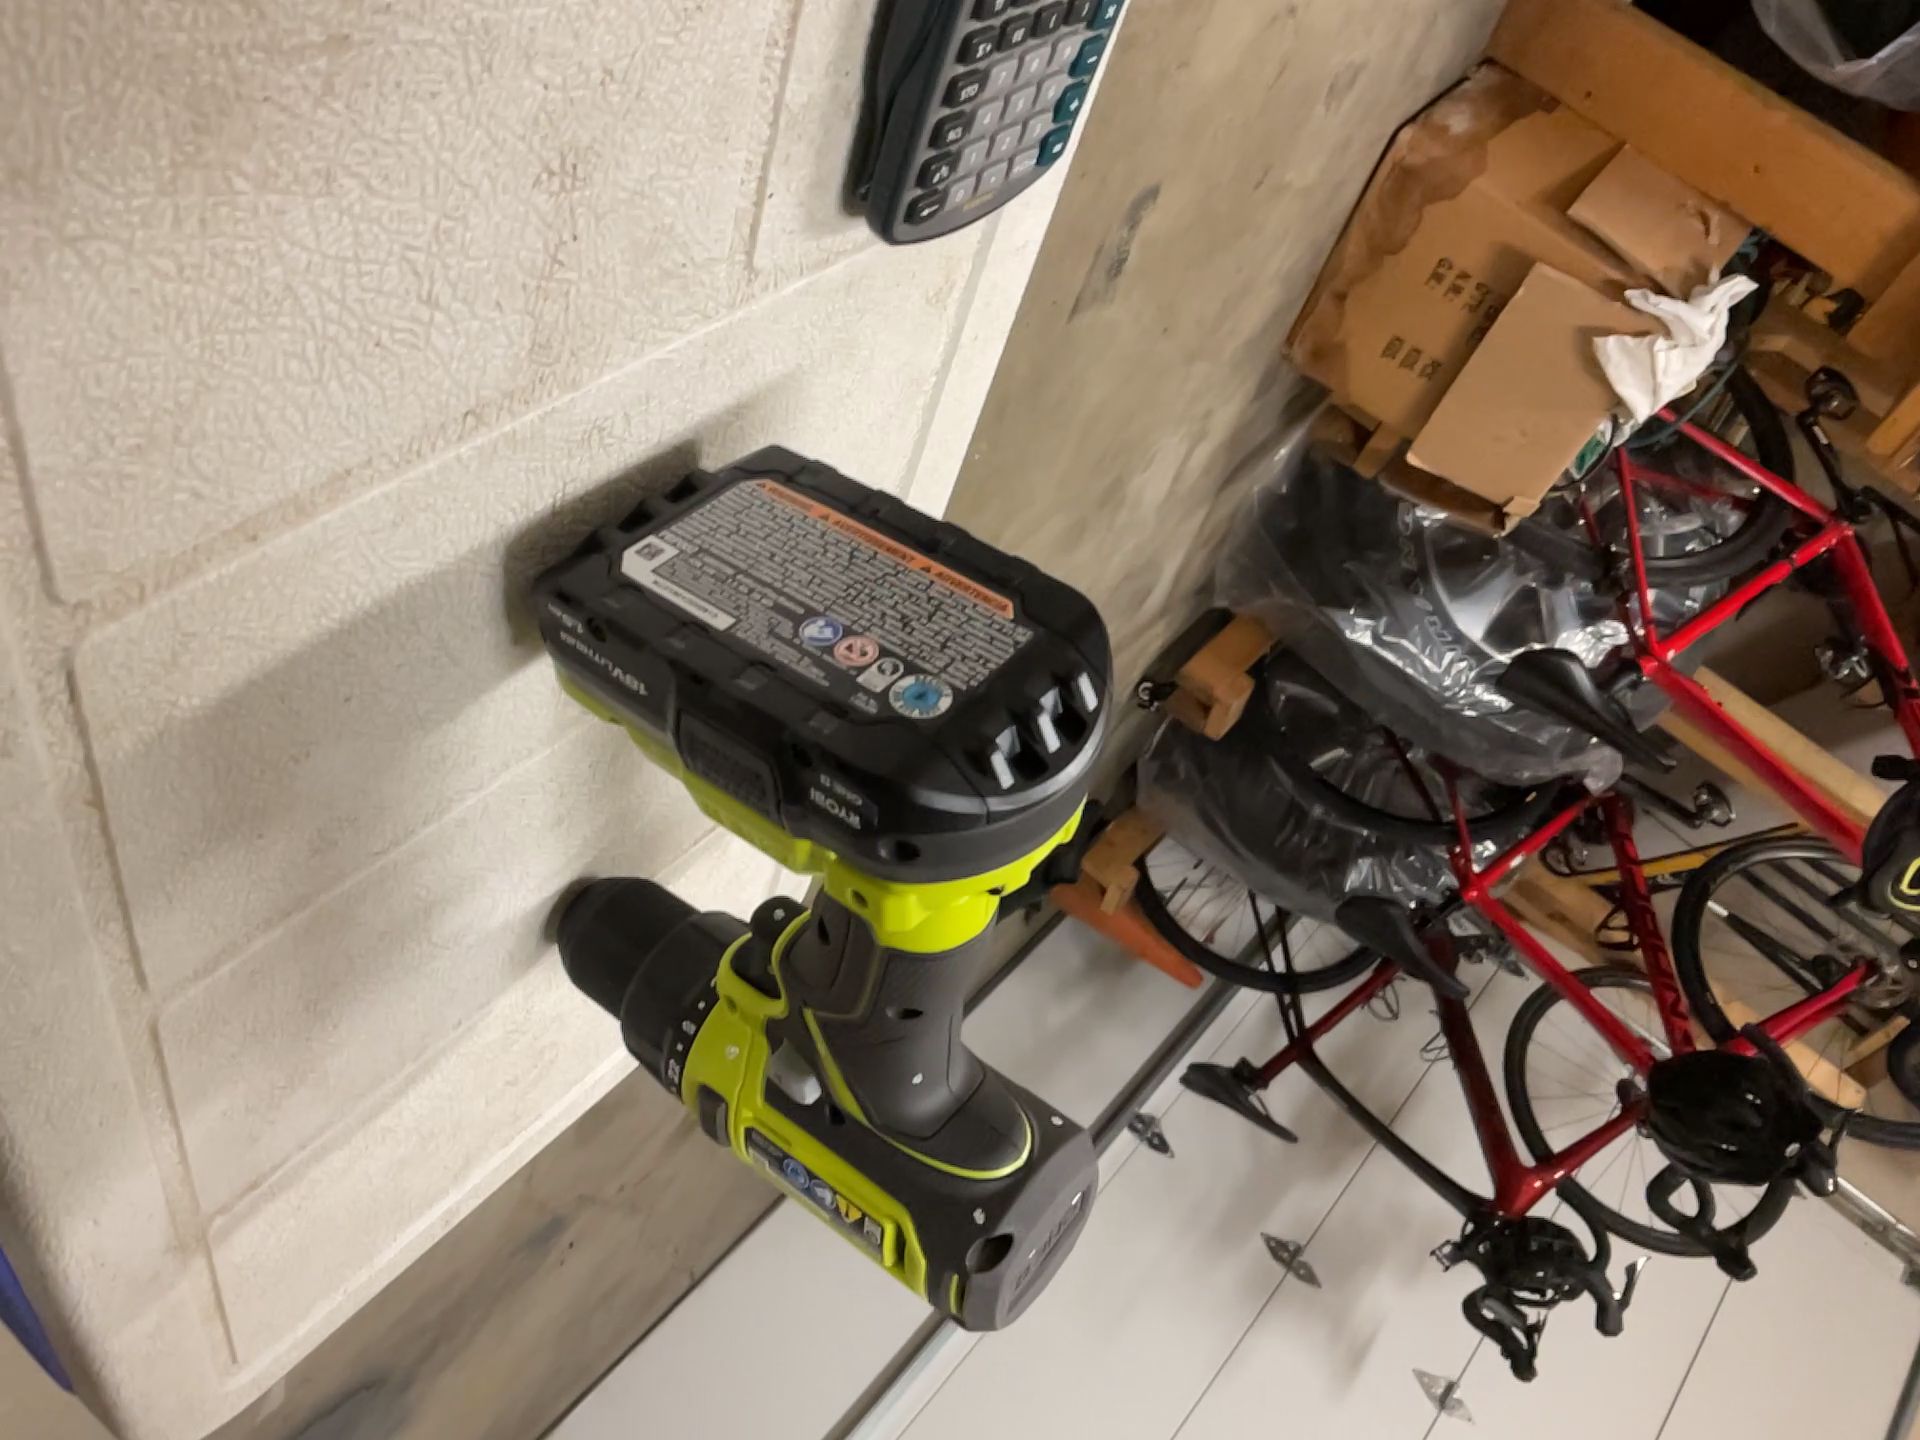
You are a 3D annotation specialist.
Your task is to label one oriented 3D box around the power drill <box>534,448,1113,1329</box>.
[{"bbox_3d":[-0.047,0.048,0.436,0.080,0.190,0.228,-41,149,-36],"label":"power drill"}]
